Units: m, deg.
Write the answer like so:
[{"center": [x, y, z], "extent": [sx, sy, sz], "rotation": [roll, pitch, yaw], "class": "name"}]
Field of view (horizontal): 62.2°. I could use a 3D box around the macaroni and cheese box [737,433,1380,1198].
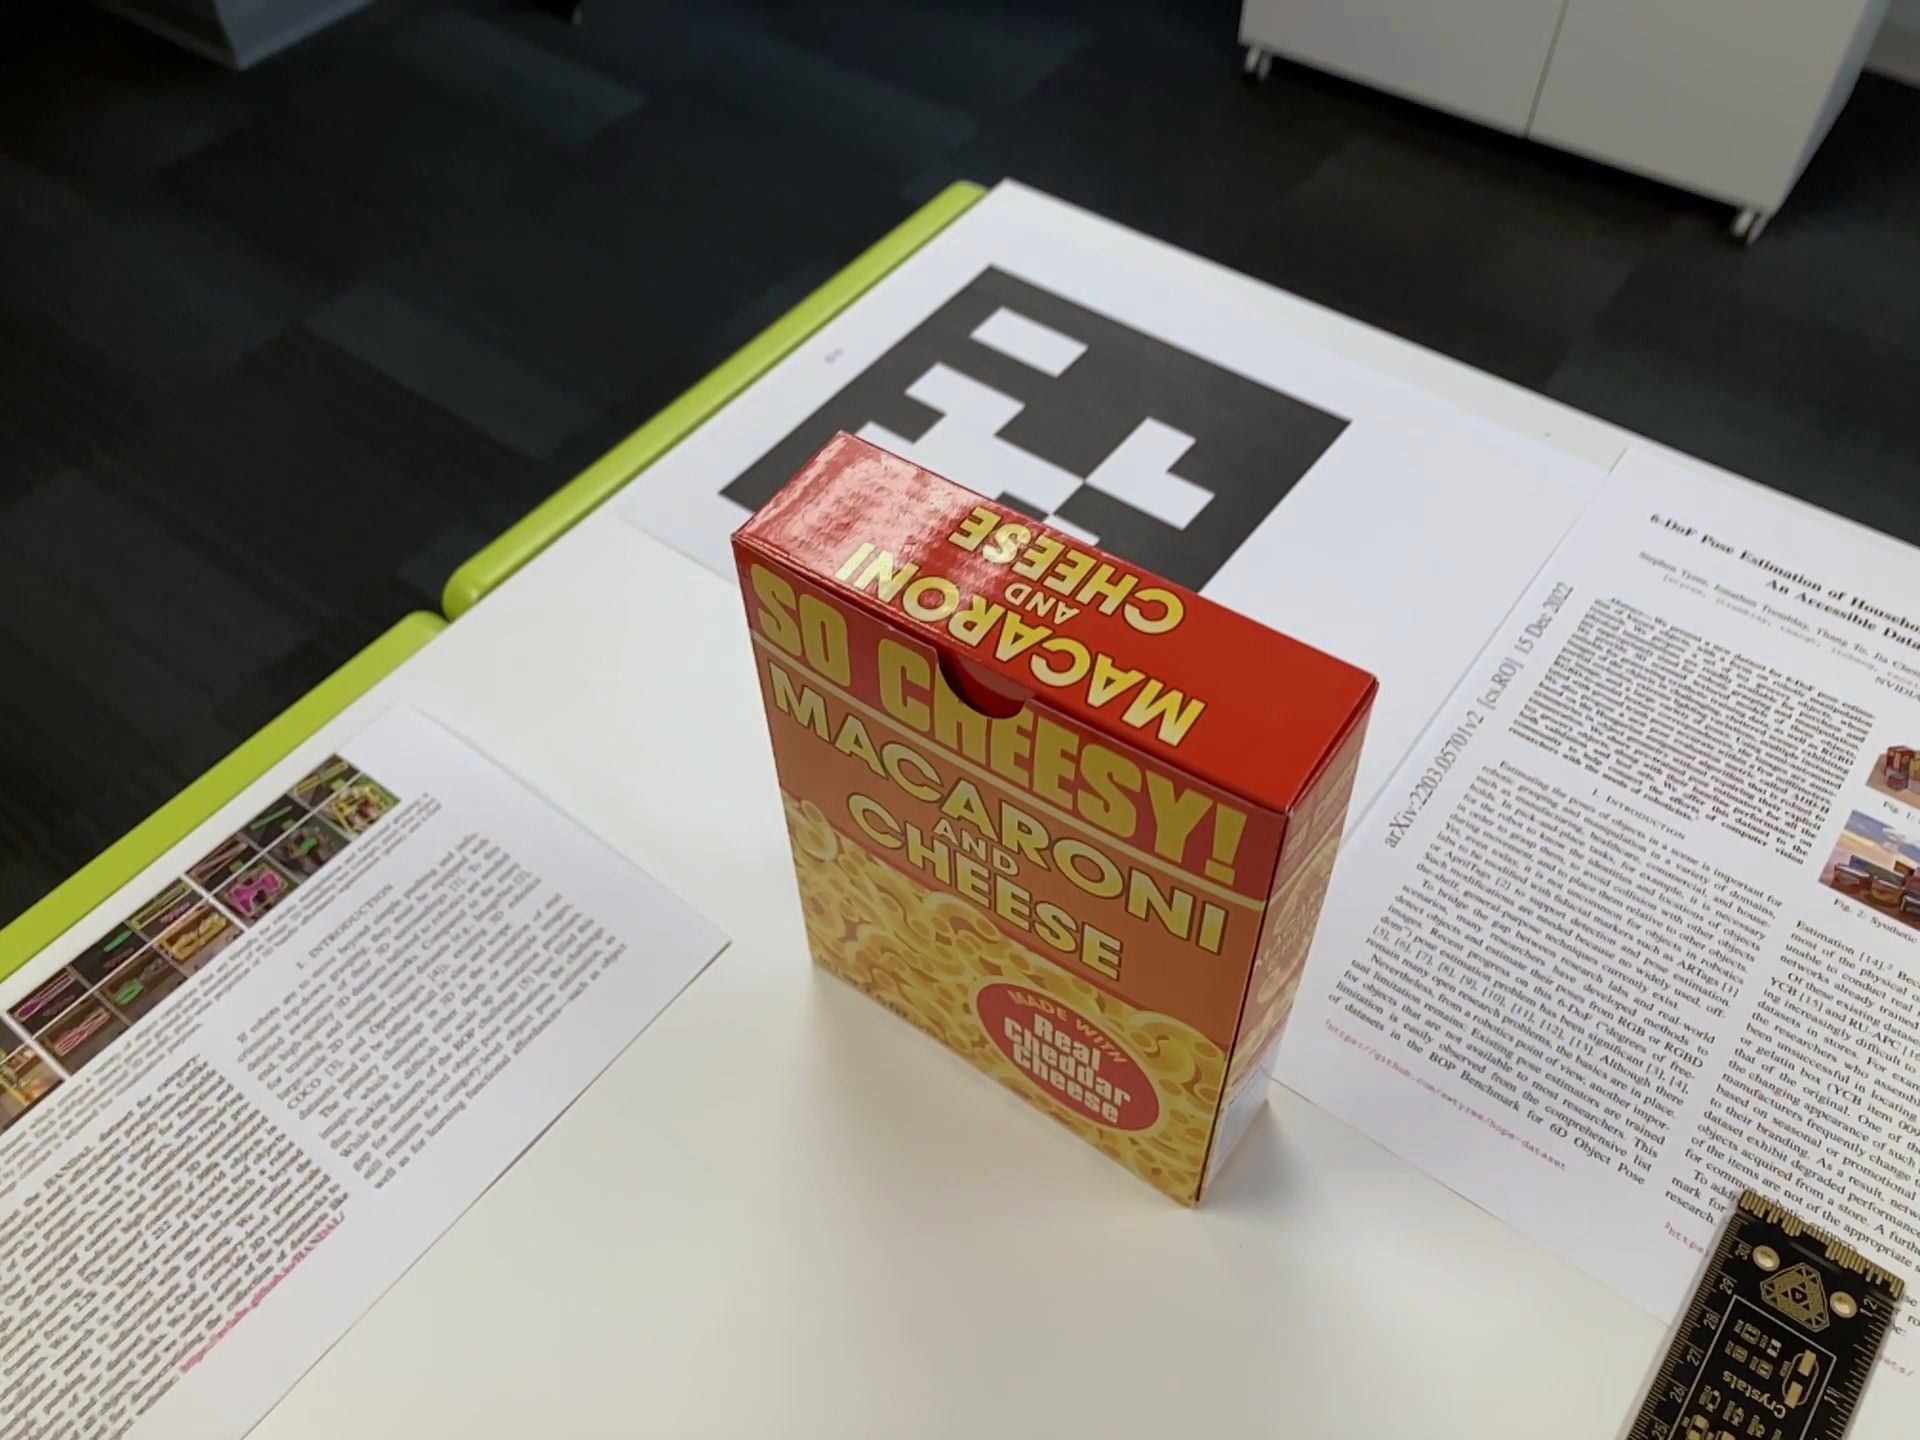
[{"center": [0.017, 0.030, 0.361], "extent": [0.124, 0.166, 0.040], "rotation": [27, 57, 22], "class": "macaroni and cheese box"}]
